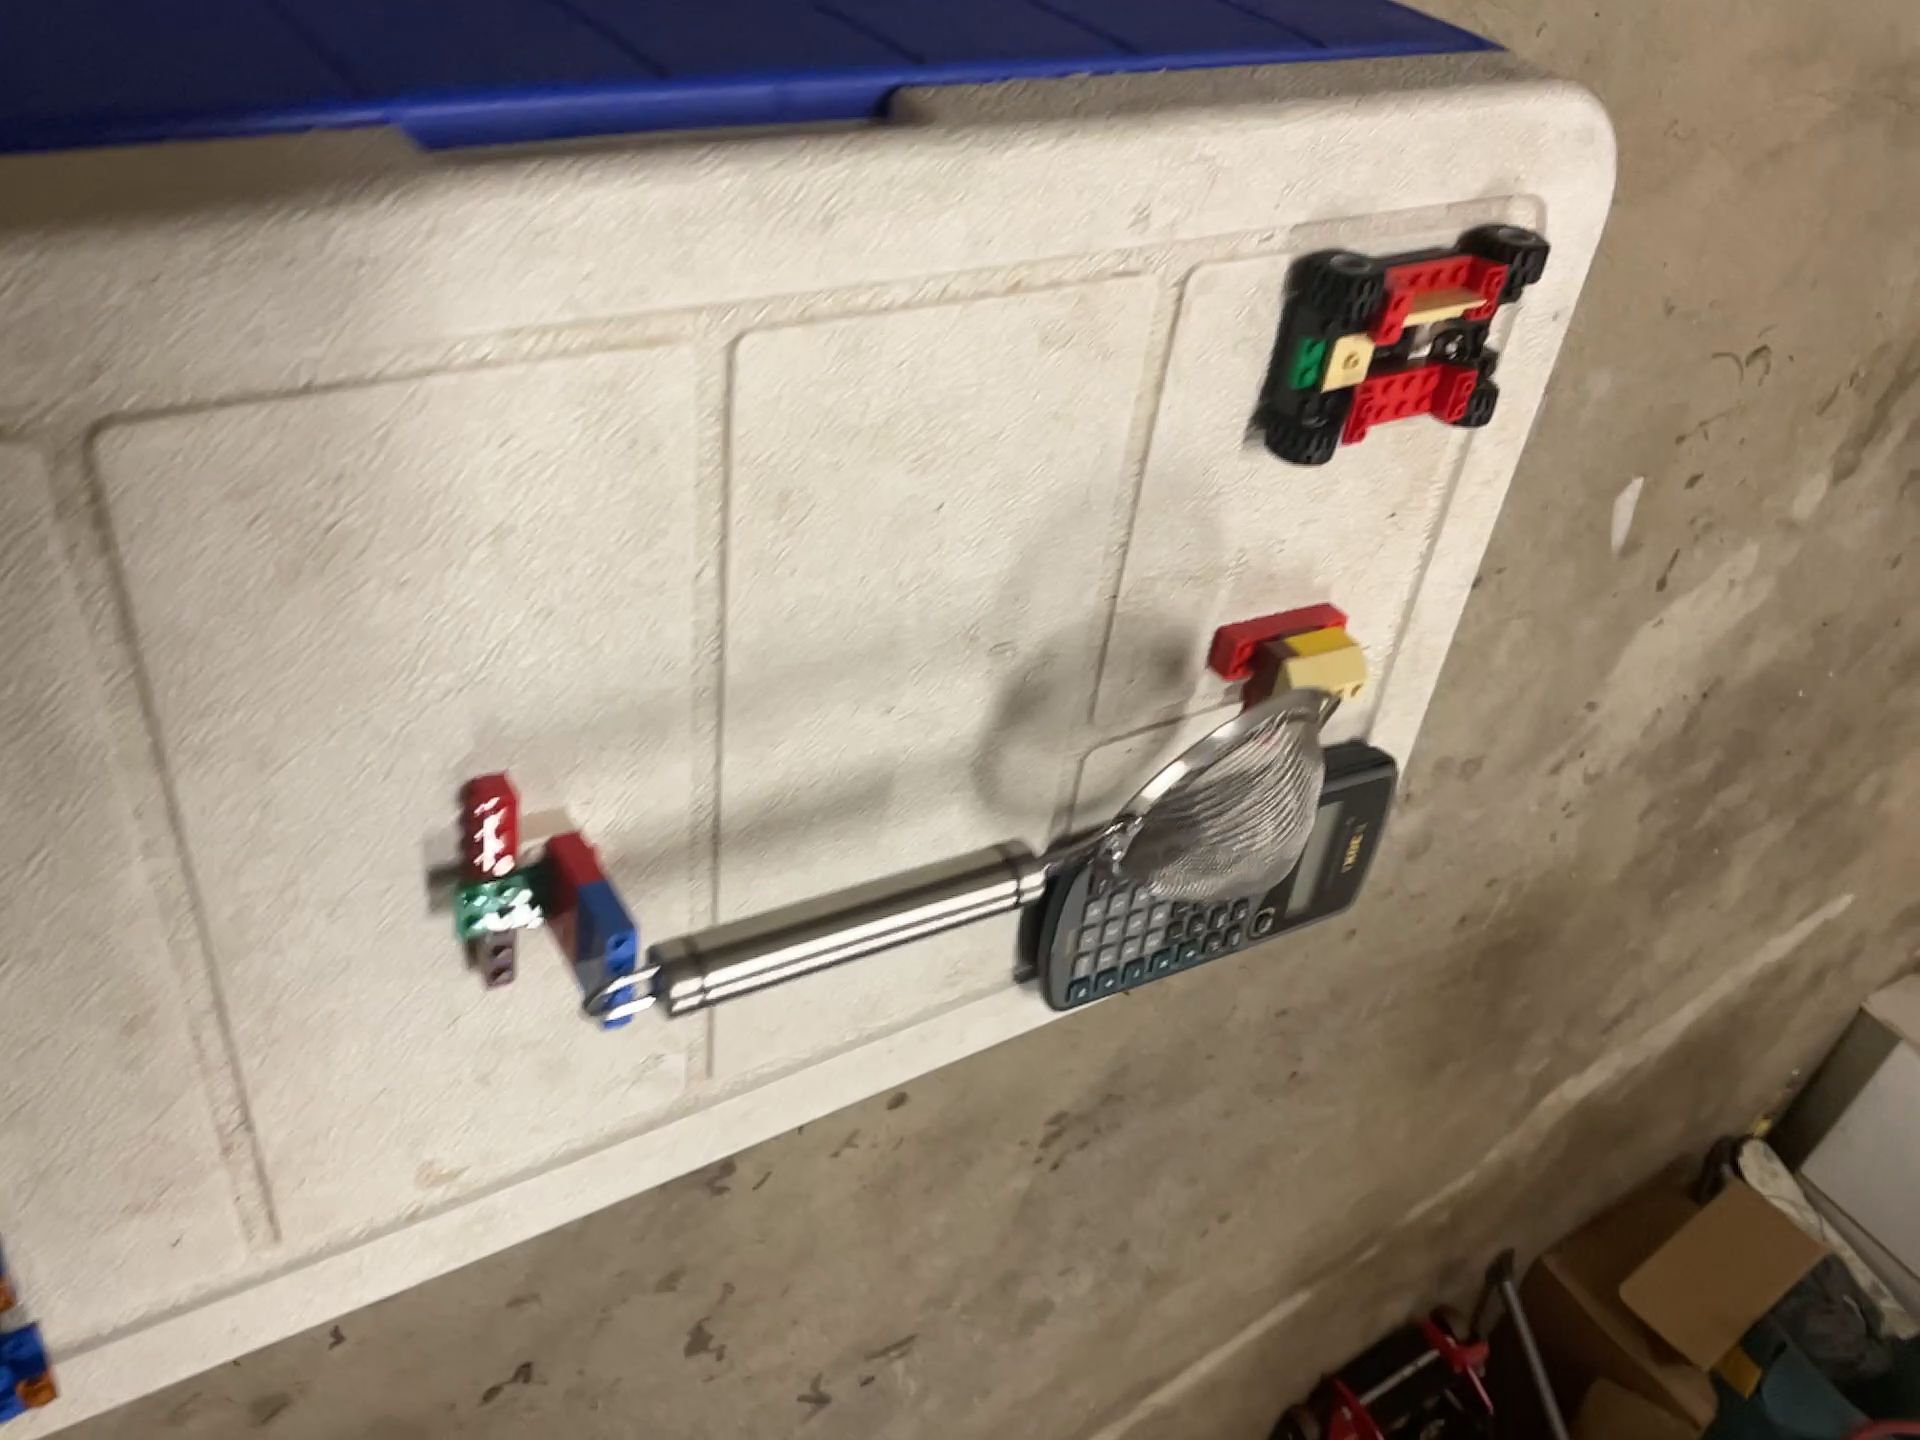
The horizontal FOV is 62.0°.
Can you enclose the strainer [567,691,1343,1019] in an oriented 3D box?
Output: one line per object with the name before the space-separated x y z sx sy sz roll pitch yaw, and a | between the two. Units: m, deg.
strainer | 0.019 0.042 0.436 0.258 0.050 0.086 -14 149 -28
